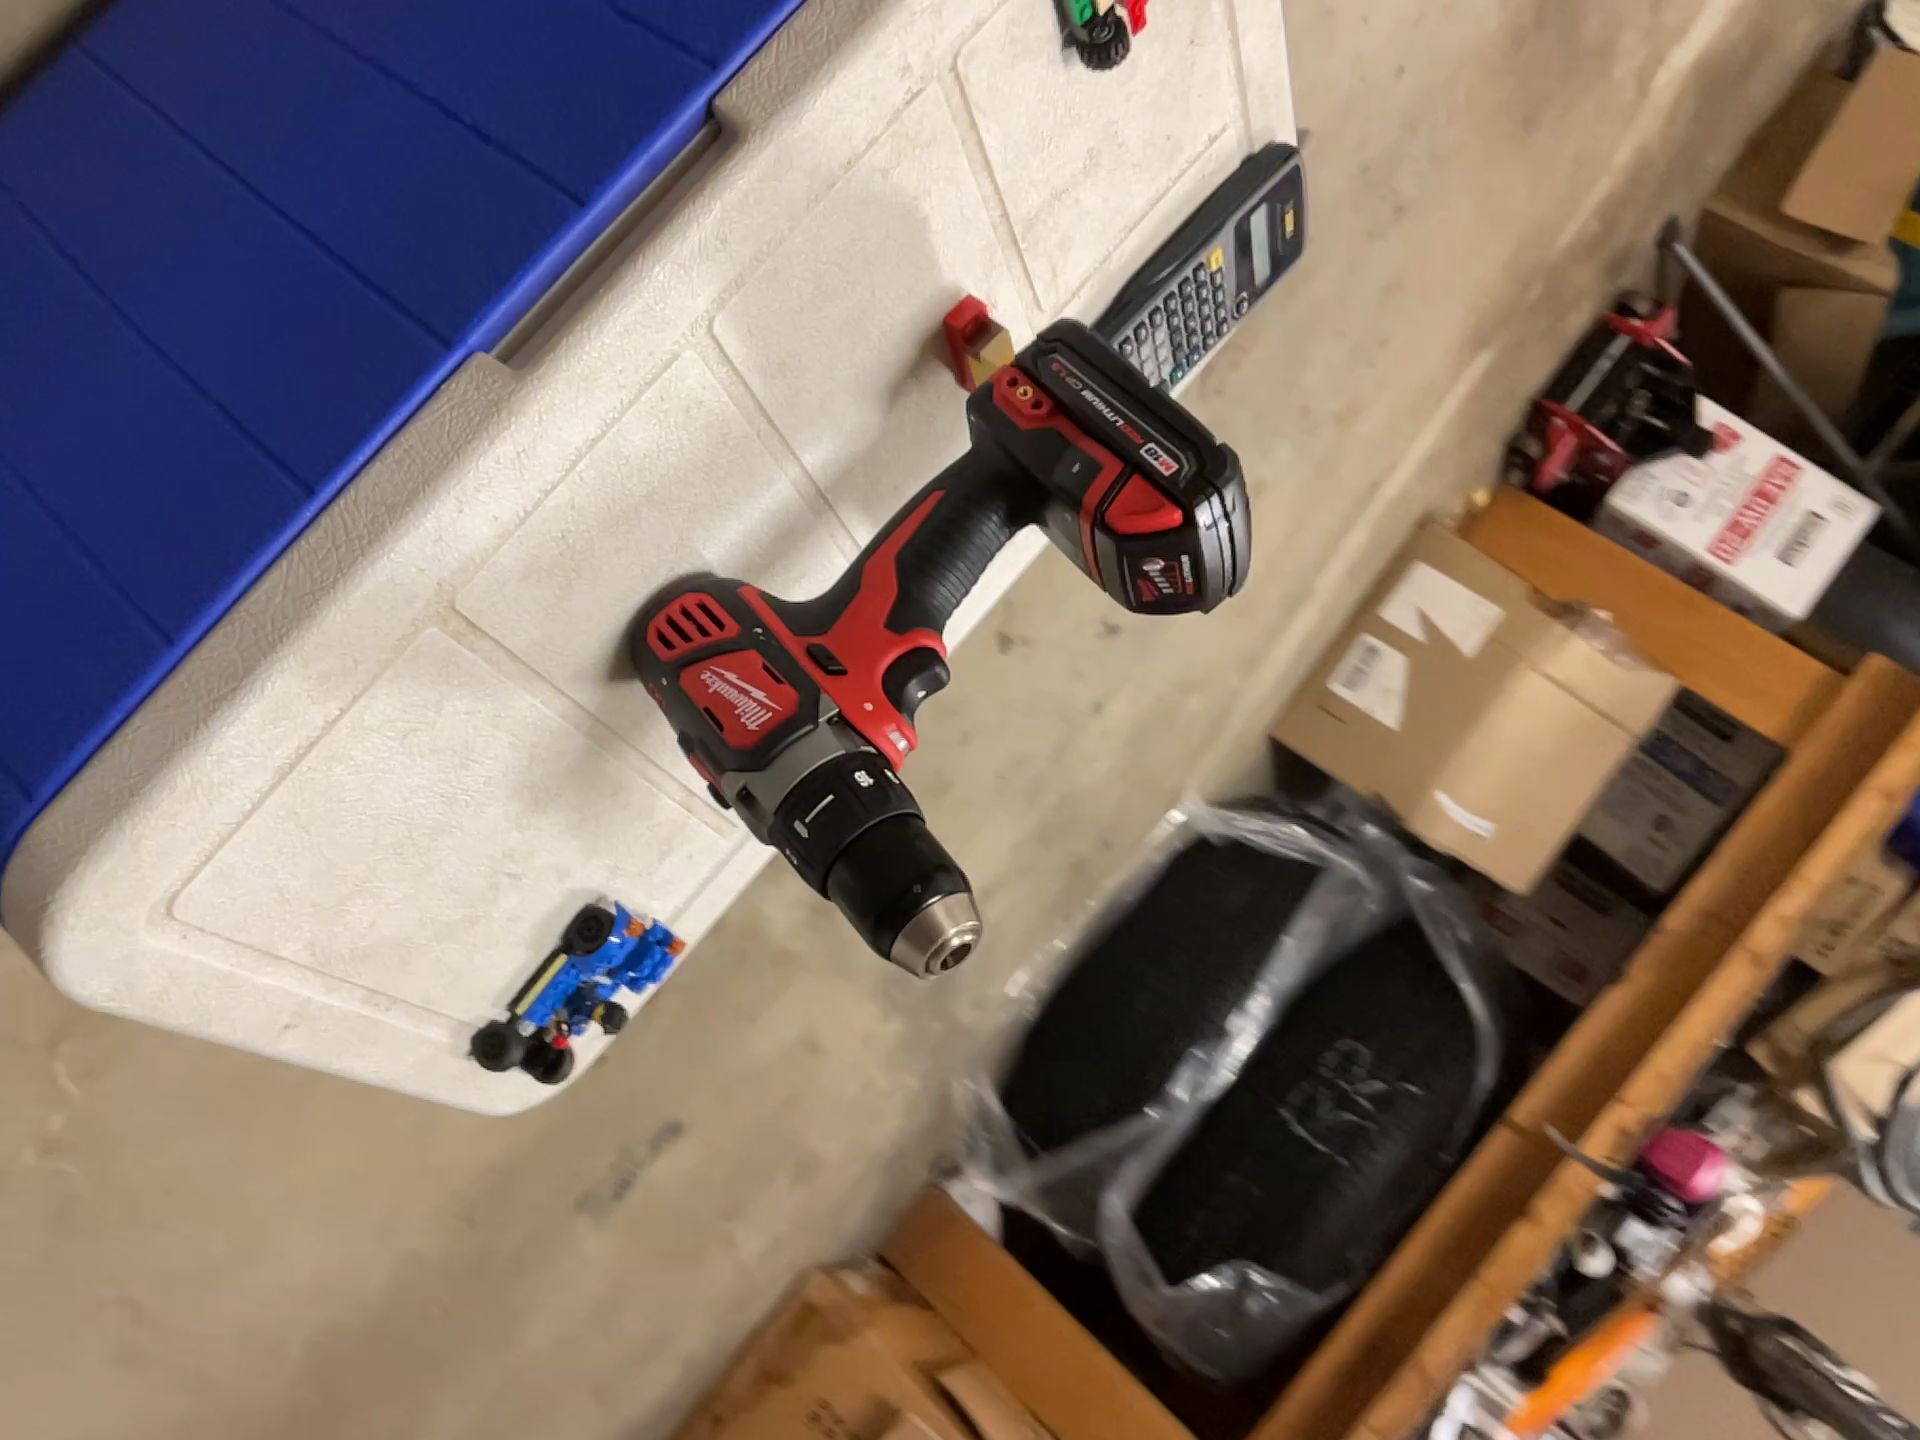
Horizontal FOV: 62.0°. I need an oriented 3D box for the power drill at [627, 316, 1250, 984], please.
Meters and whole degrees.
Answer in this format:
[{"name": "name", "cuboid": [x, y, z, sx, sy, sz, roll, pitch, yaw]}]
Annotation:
[{"name": "power drill", "cuboid": [0.004, -0.028, 0.606, 0.227, 0.188, 0.080, -38, 151, -8]}]
